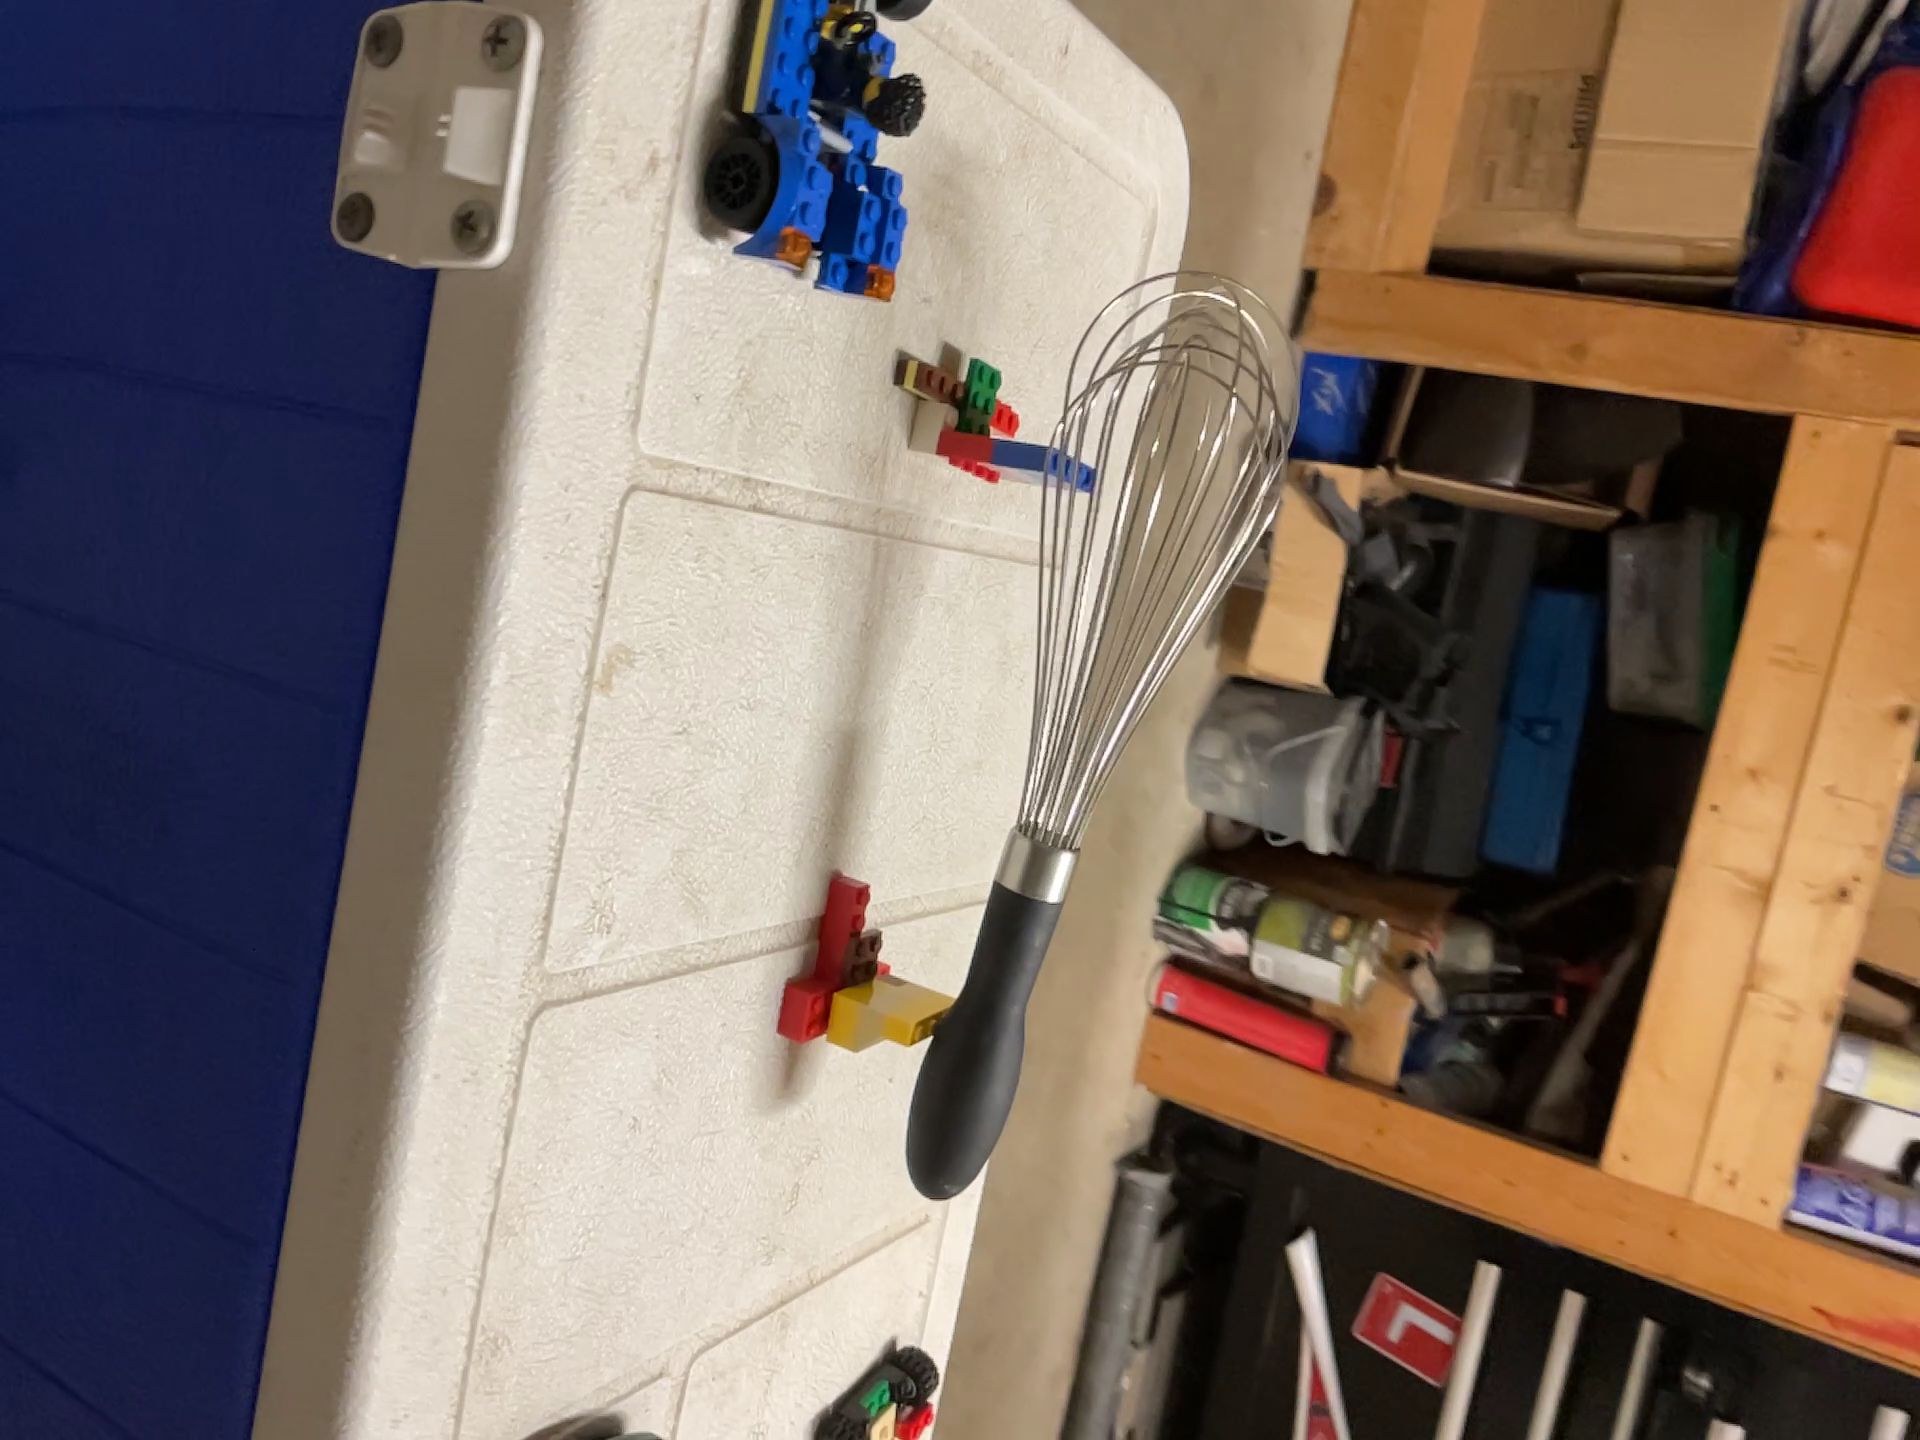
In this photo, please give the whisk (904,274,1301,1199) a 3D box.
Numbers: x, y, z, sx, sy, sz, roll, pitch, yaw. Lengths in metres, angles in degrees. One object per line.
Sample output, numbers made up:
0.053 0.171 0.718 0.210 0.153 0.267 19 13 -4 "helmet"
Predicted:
0.033 0.012 0.469 0.070 0.070 0.284 -7 116 -66 "whisk"
